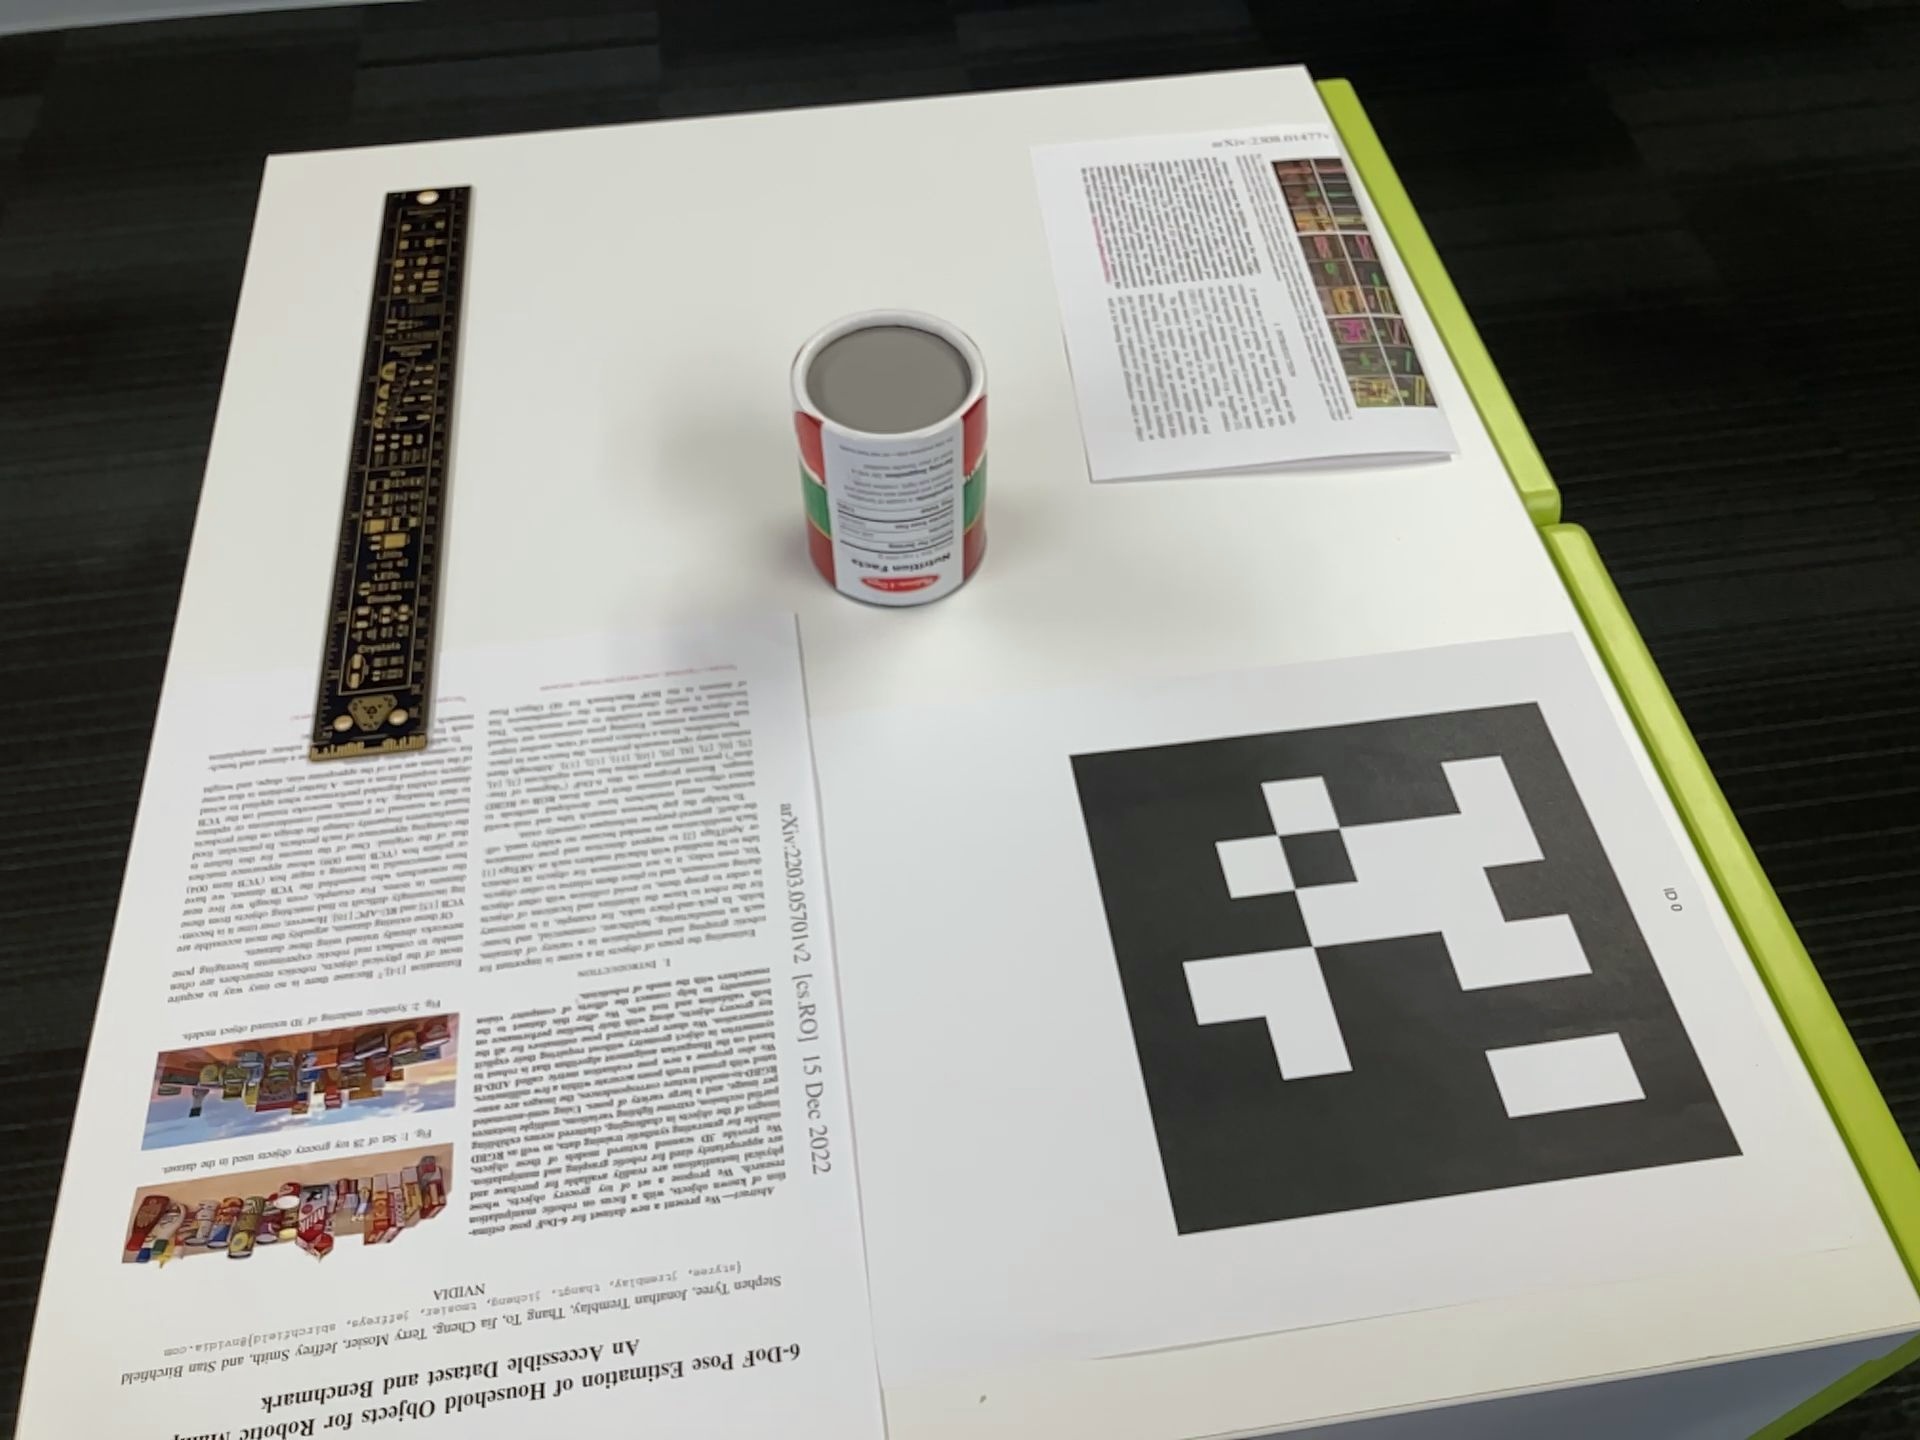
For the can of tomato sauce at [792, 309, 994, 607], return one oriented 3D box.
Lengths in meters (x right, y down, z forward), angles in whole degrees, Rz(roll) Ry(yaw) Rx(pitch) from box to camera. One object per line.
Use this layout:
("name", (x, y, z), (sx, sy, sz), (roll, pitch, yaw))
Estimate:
("can of tomato sauce", (-0.023, -0.094, 0.564), (0.071, 0.083, 0.071), (-1, 53, 2))
